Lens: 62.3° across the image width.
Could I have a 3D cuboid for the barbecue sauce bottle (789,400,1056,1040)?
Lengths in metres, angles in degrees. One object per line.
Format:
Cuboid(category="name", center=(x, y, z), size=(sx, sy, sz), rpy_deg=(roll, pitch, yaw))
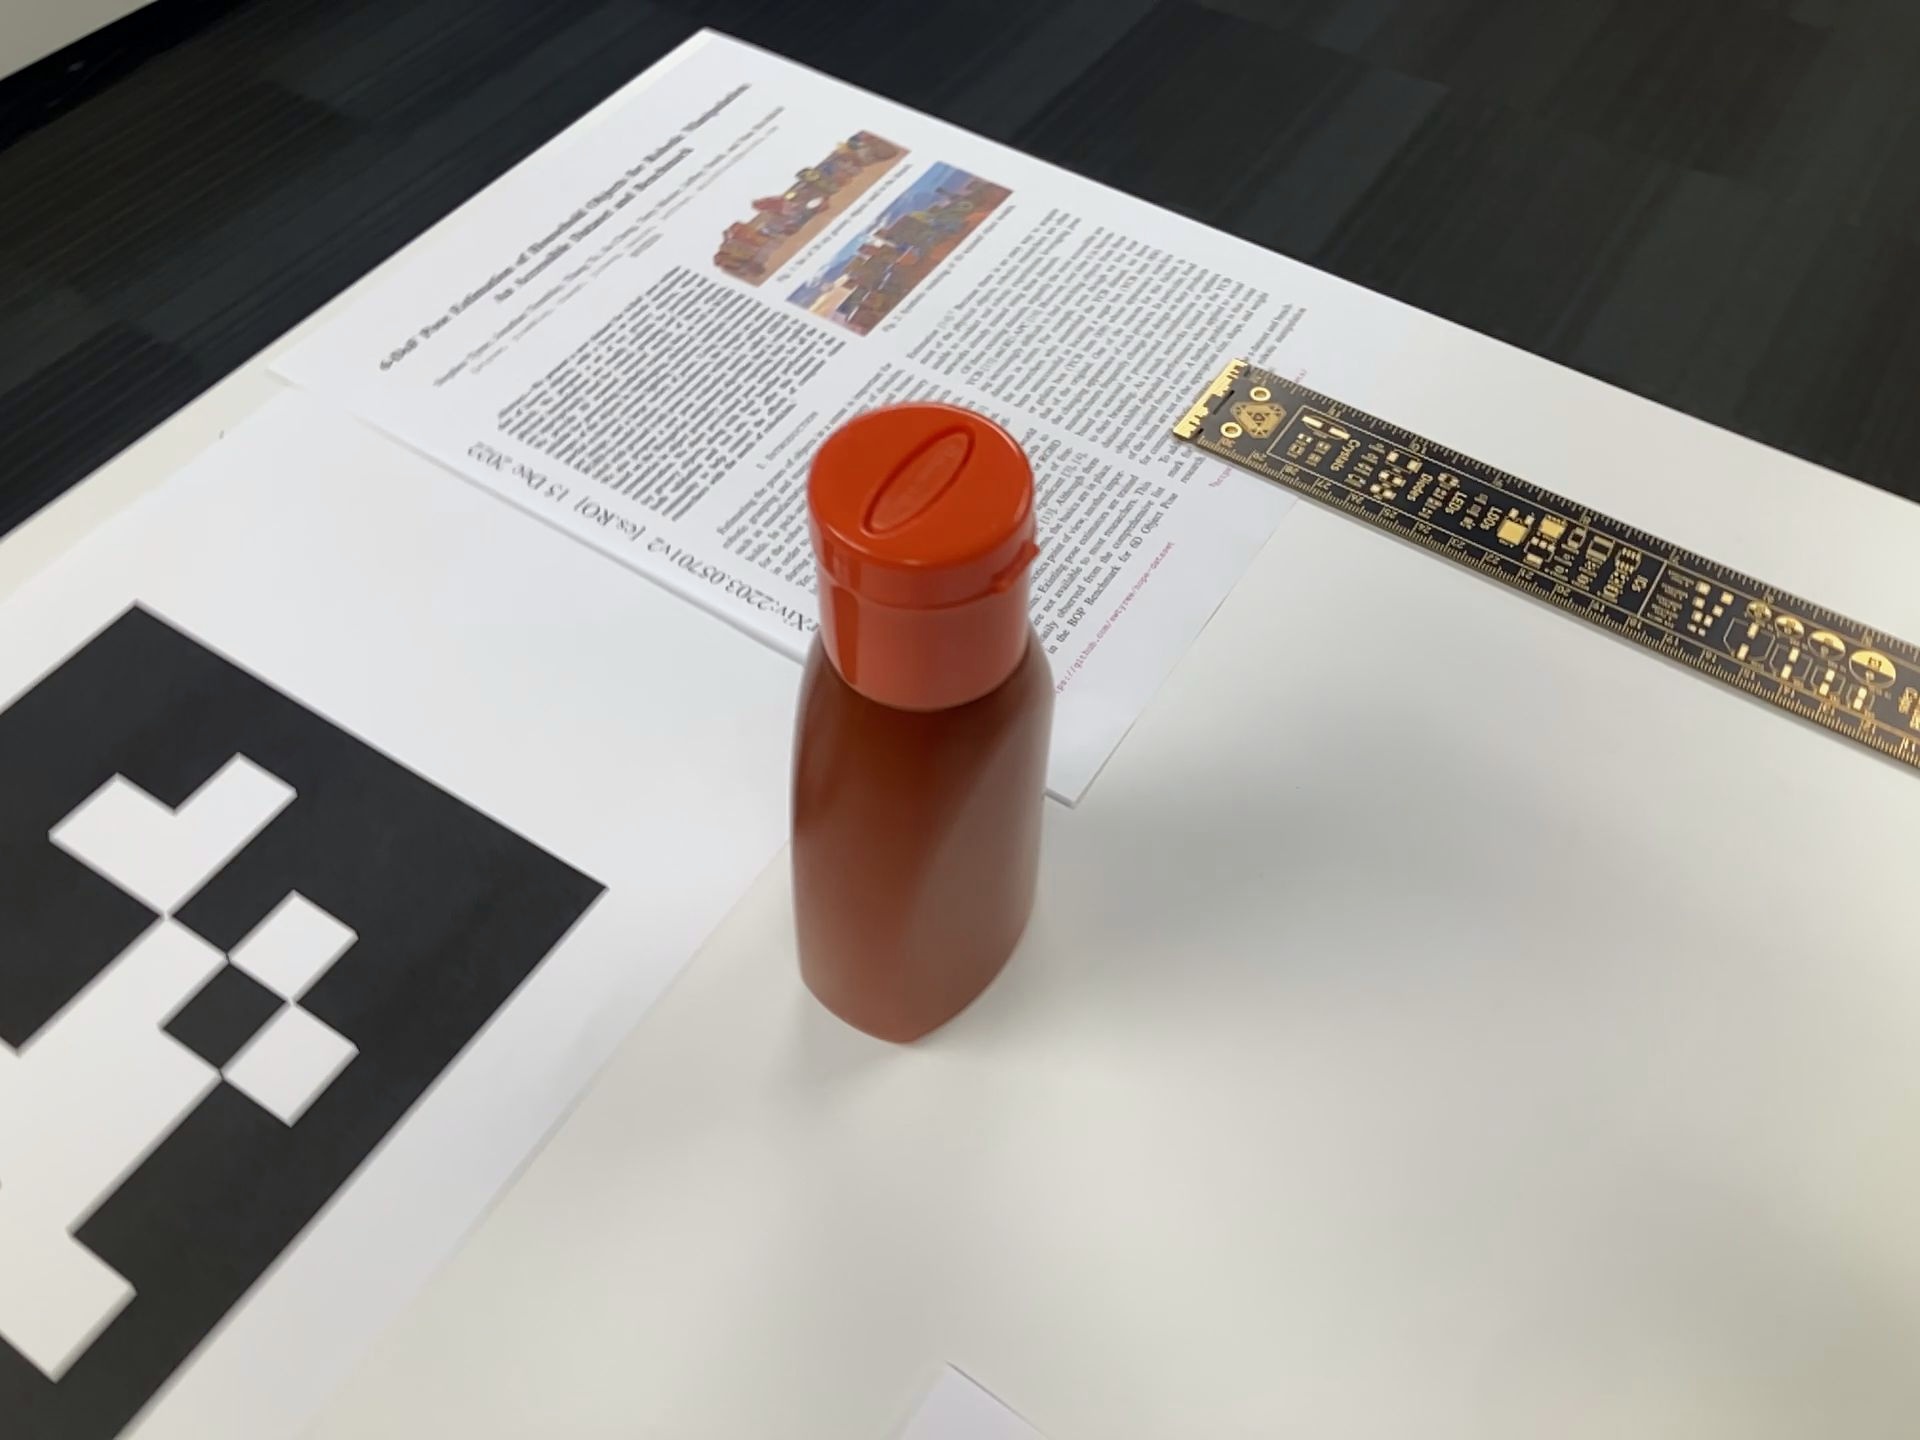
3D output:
Cuboid(category="barbecue sauce bottle", center=(-0.007, 0.005, 0.309), size=(0.043, 0.148, 0.065), rpy_deg=(29, 59, 18))
